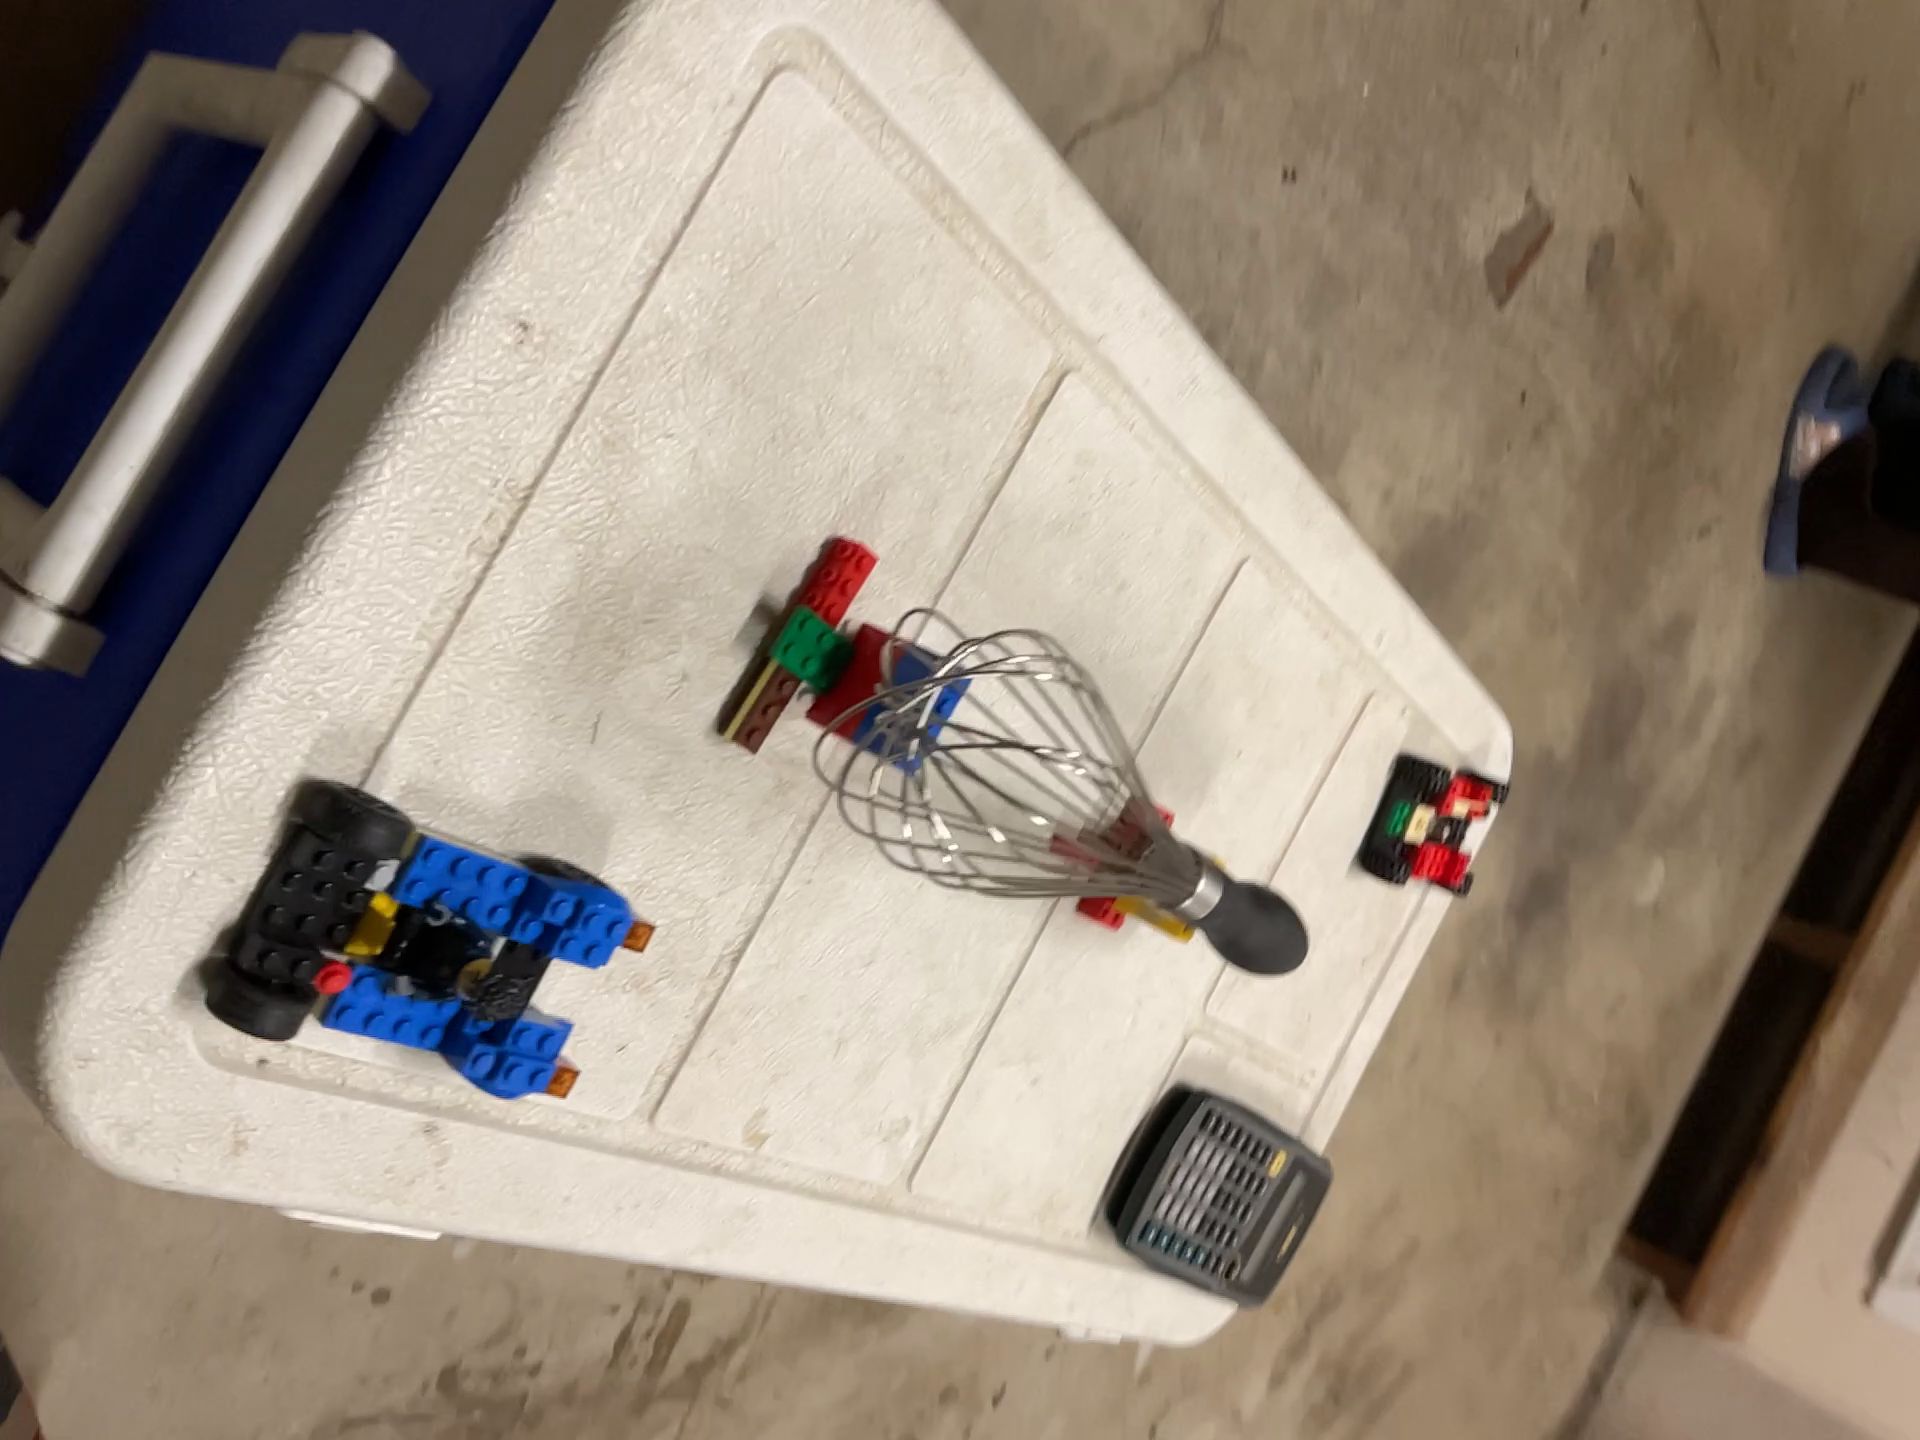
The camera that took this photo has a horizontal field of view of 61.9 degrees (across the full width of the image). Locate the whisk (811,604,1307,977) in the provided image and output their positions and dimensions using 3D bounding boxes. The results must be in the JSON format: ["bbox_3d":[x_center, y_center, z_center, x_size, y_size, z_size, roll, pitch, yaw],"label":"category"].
[{"bbox_3d":[0.052,0.038,0.461,0.284,0.070,0.070,33,79,-56],"label":"whisk"}]
